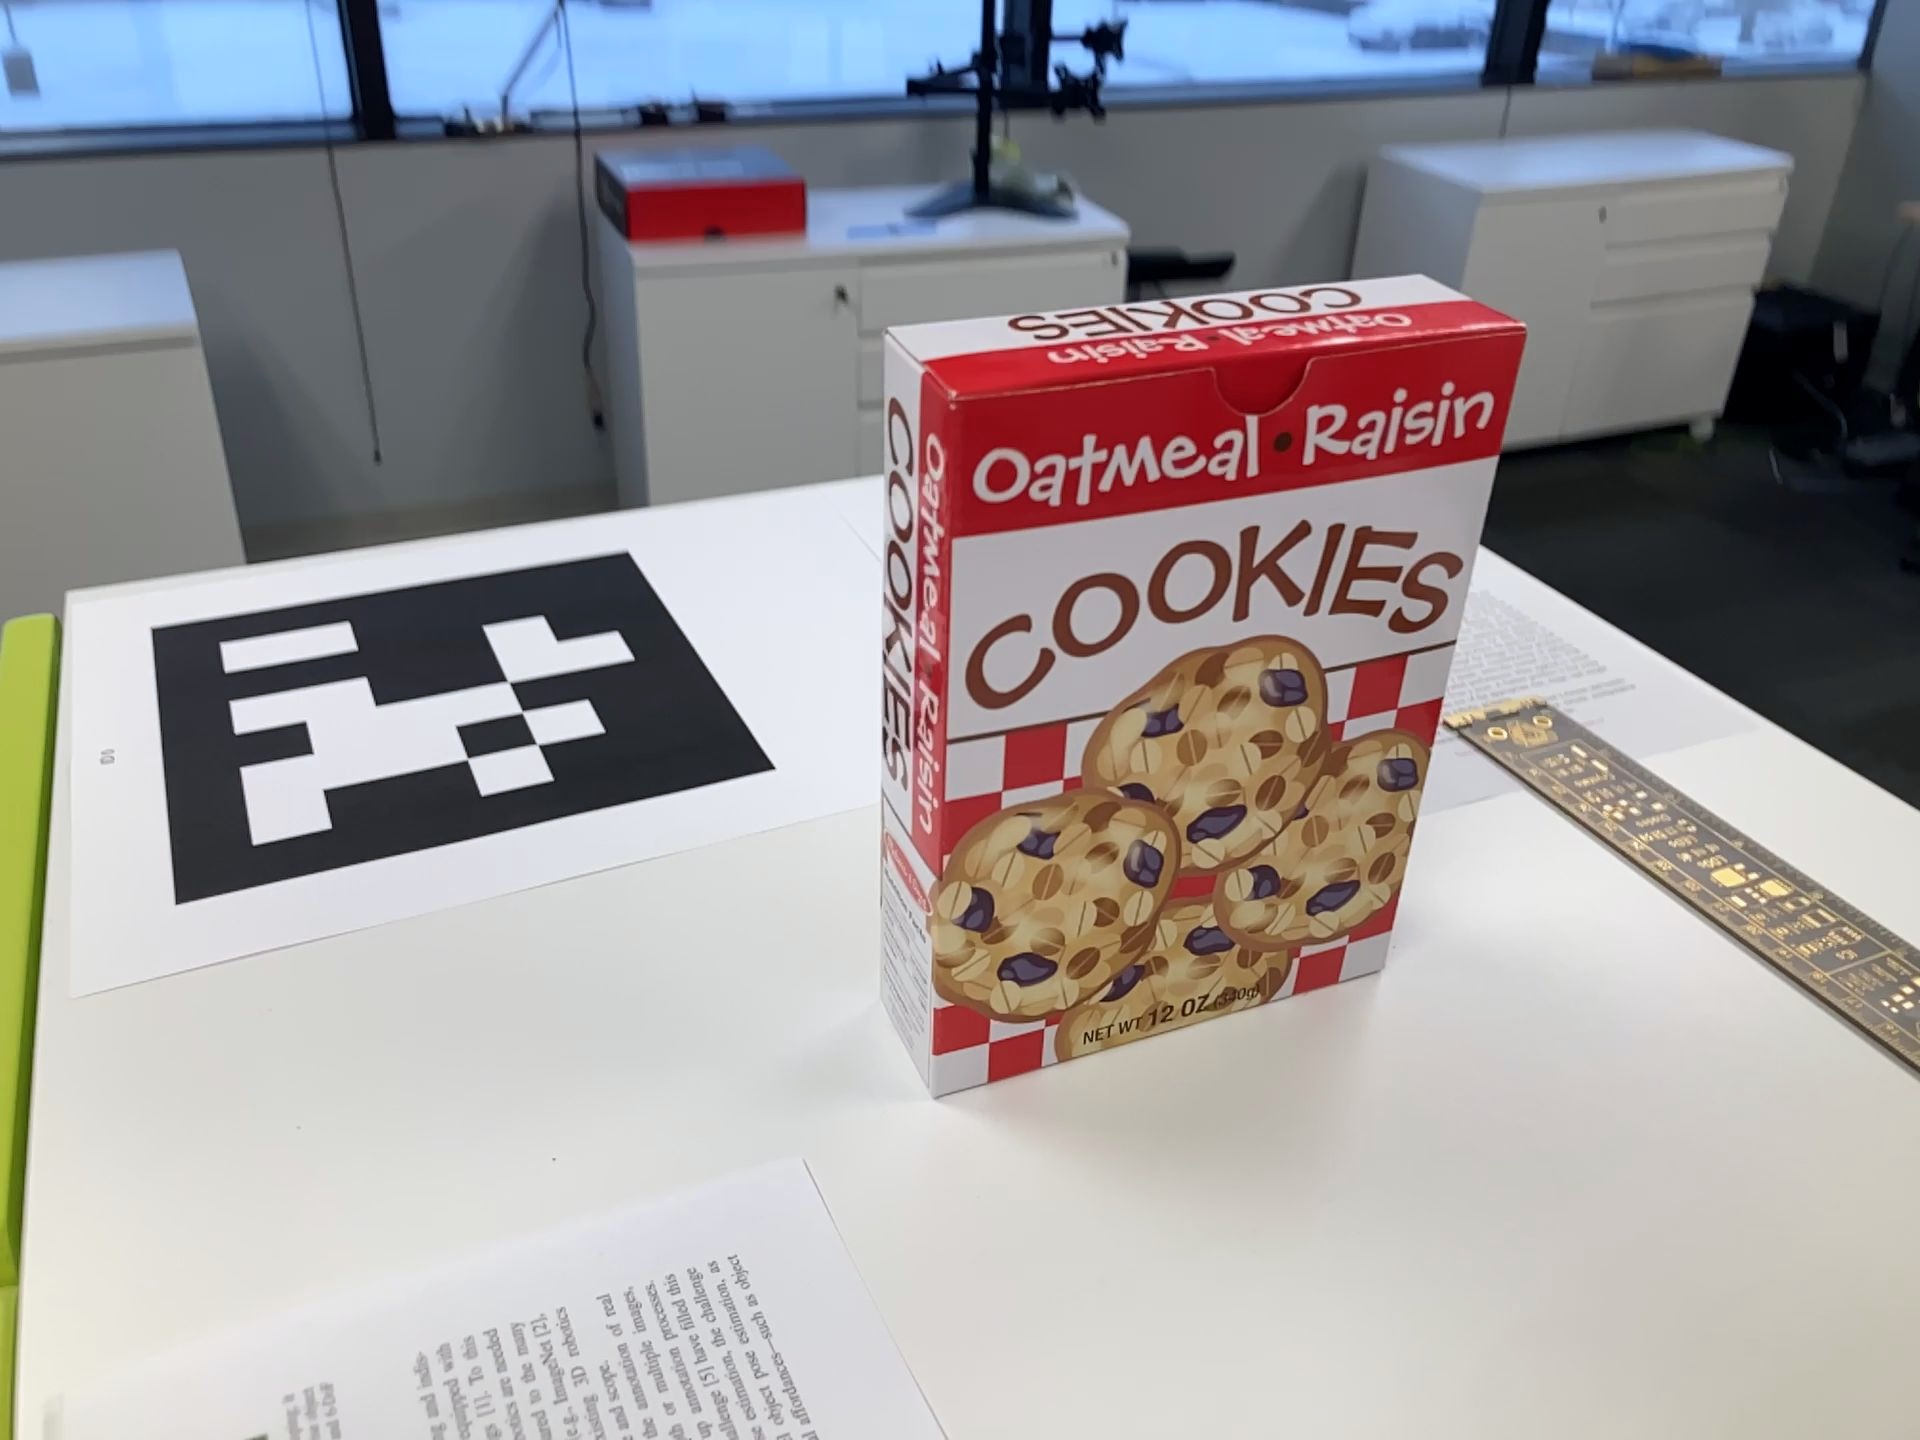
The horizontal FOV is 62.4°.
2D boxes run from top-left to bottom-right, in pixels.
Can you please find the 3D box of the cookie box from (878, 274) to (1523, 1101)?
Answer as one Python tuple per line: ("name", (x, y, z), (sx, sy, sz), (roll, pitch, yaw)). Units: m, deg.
("cookie box", (0.046, -0.005, 0.343), (0.123, 0.167, 0.040), (-11, 34, -20))
